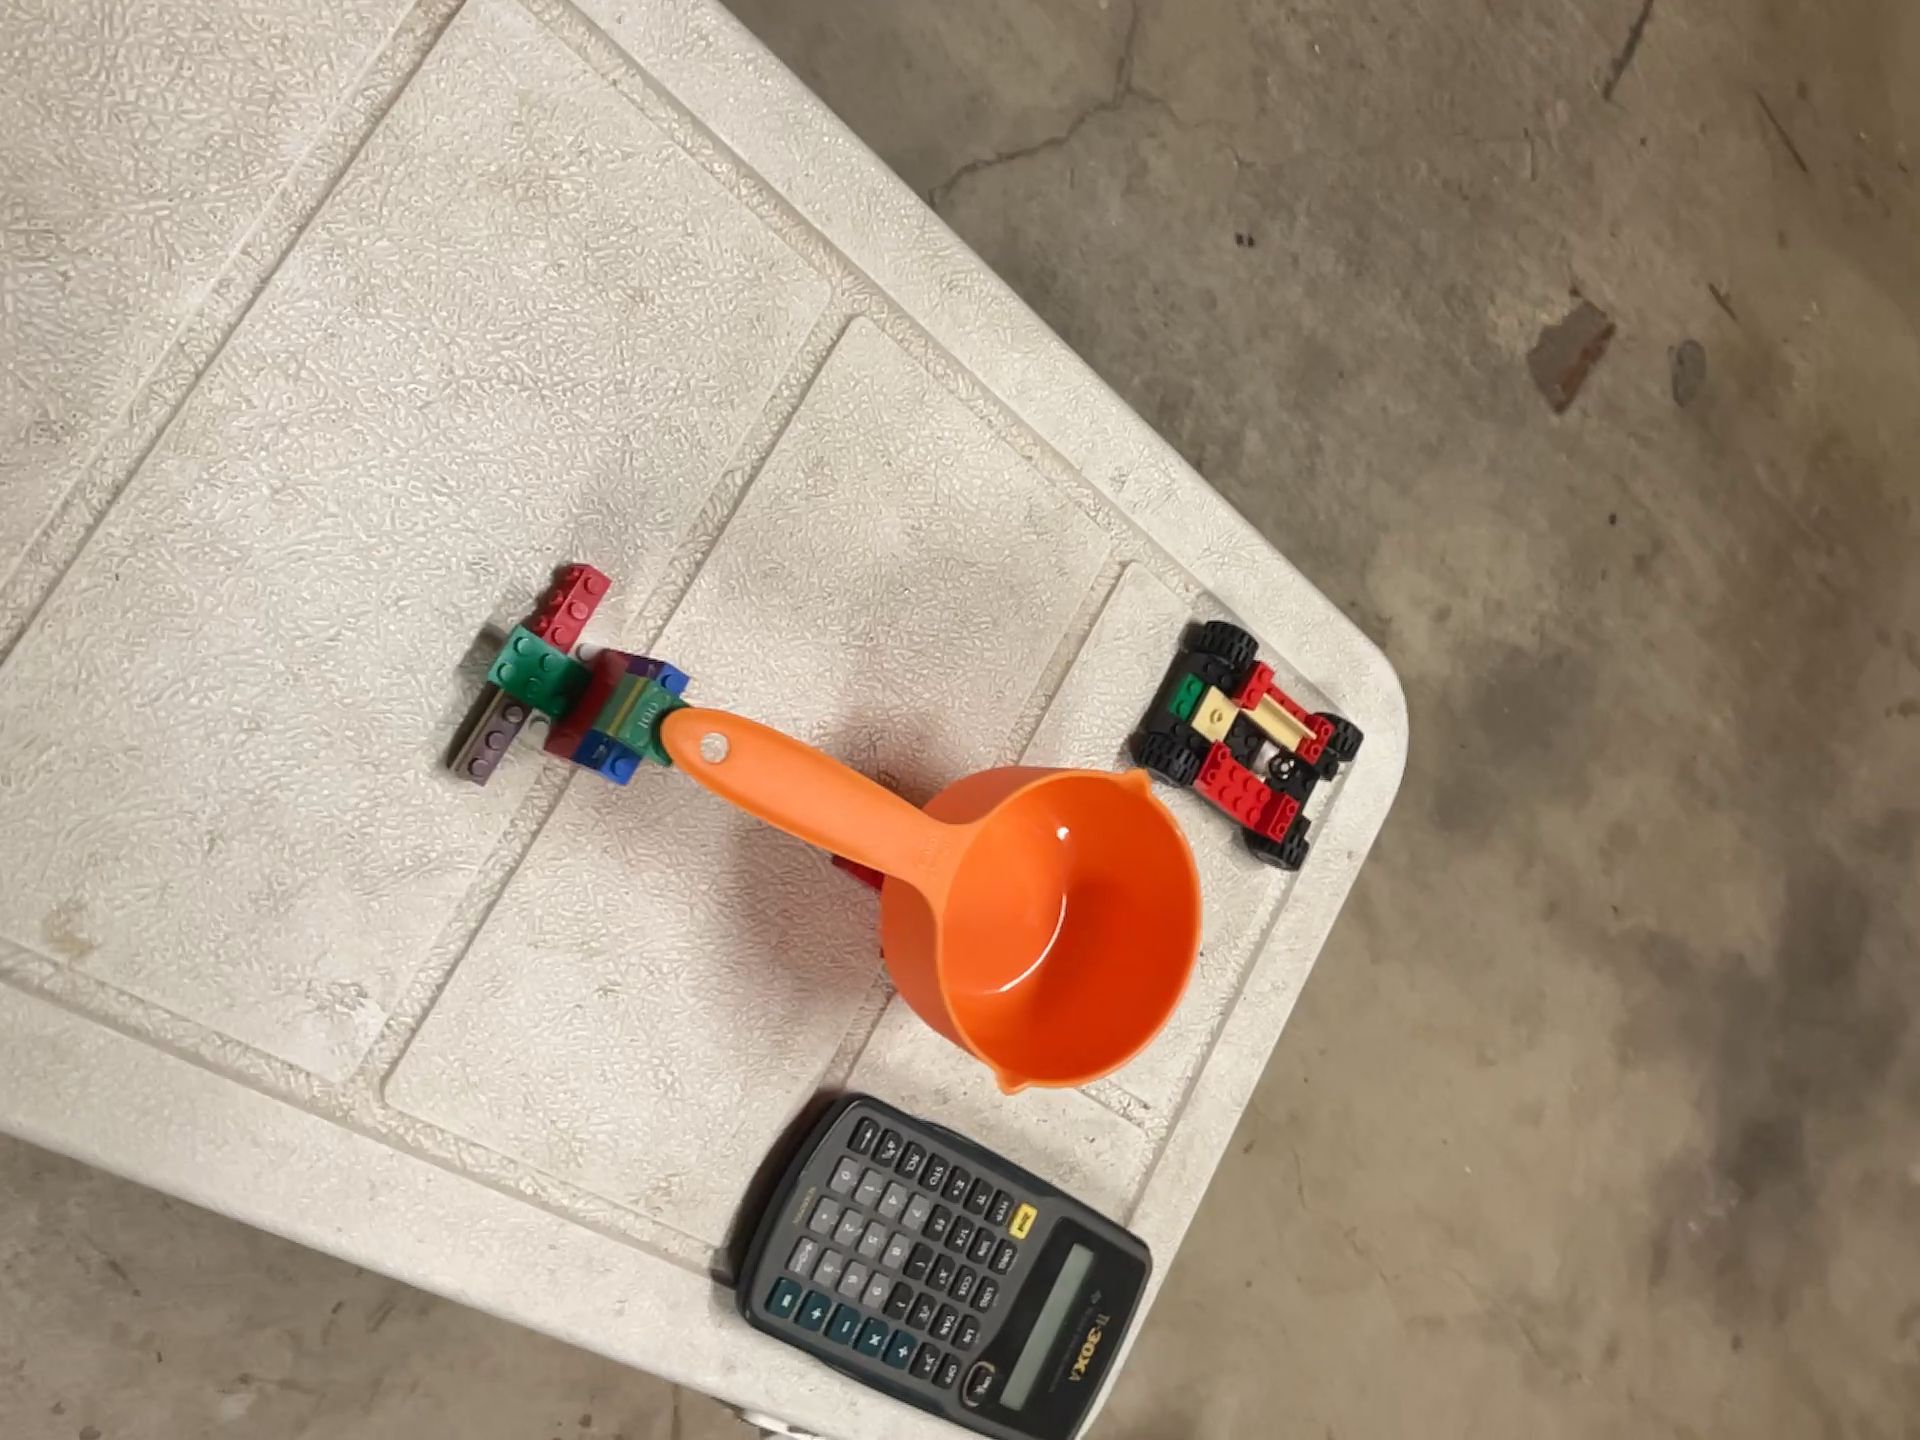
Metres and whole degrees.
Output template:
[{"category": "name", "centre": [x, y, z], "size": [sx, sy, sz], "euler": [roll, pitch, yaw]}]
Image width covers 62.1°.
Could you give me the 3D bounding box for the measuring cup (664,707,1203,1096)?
[{"category": "measuring cup", "centre": [-0.013, 0.037, 0.435], "size": [0.173, 0.052, 0.095], "euler": [30, 79, -28]}]
